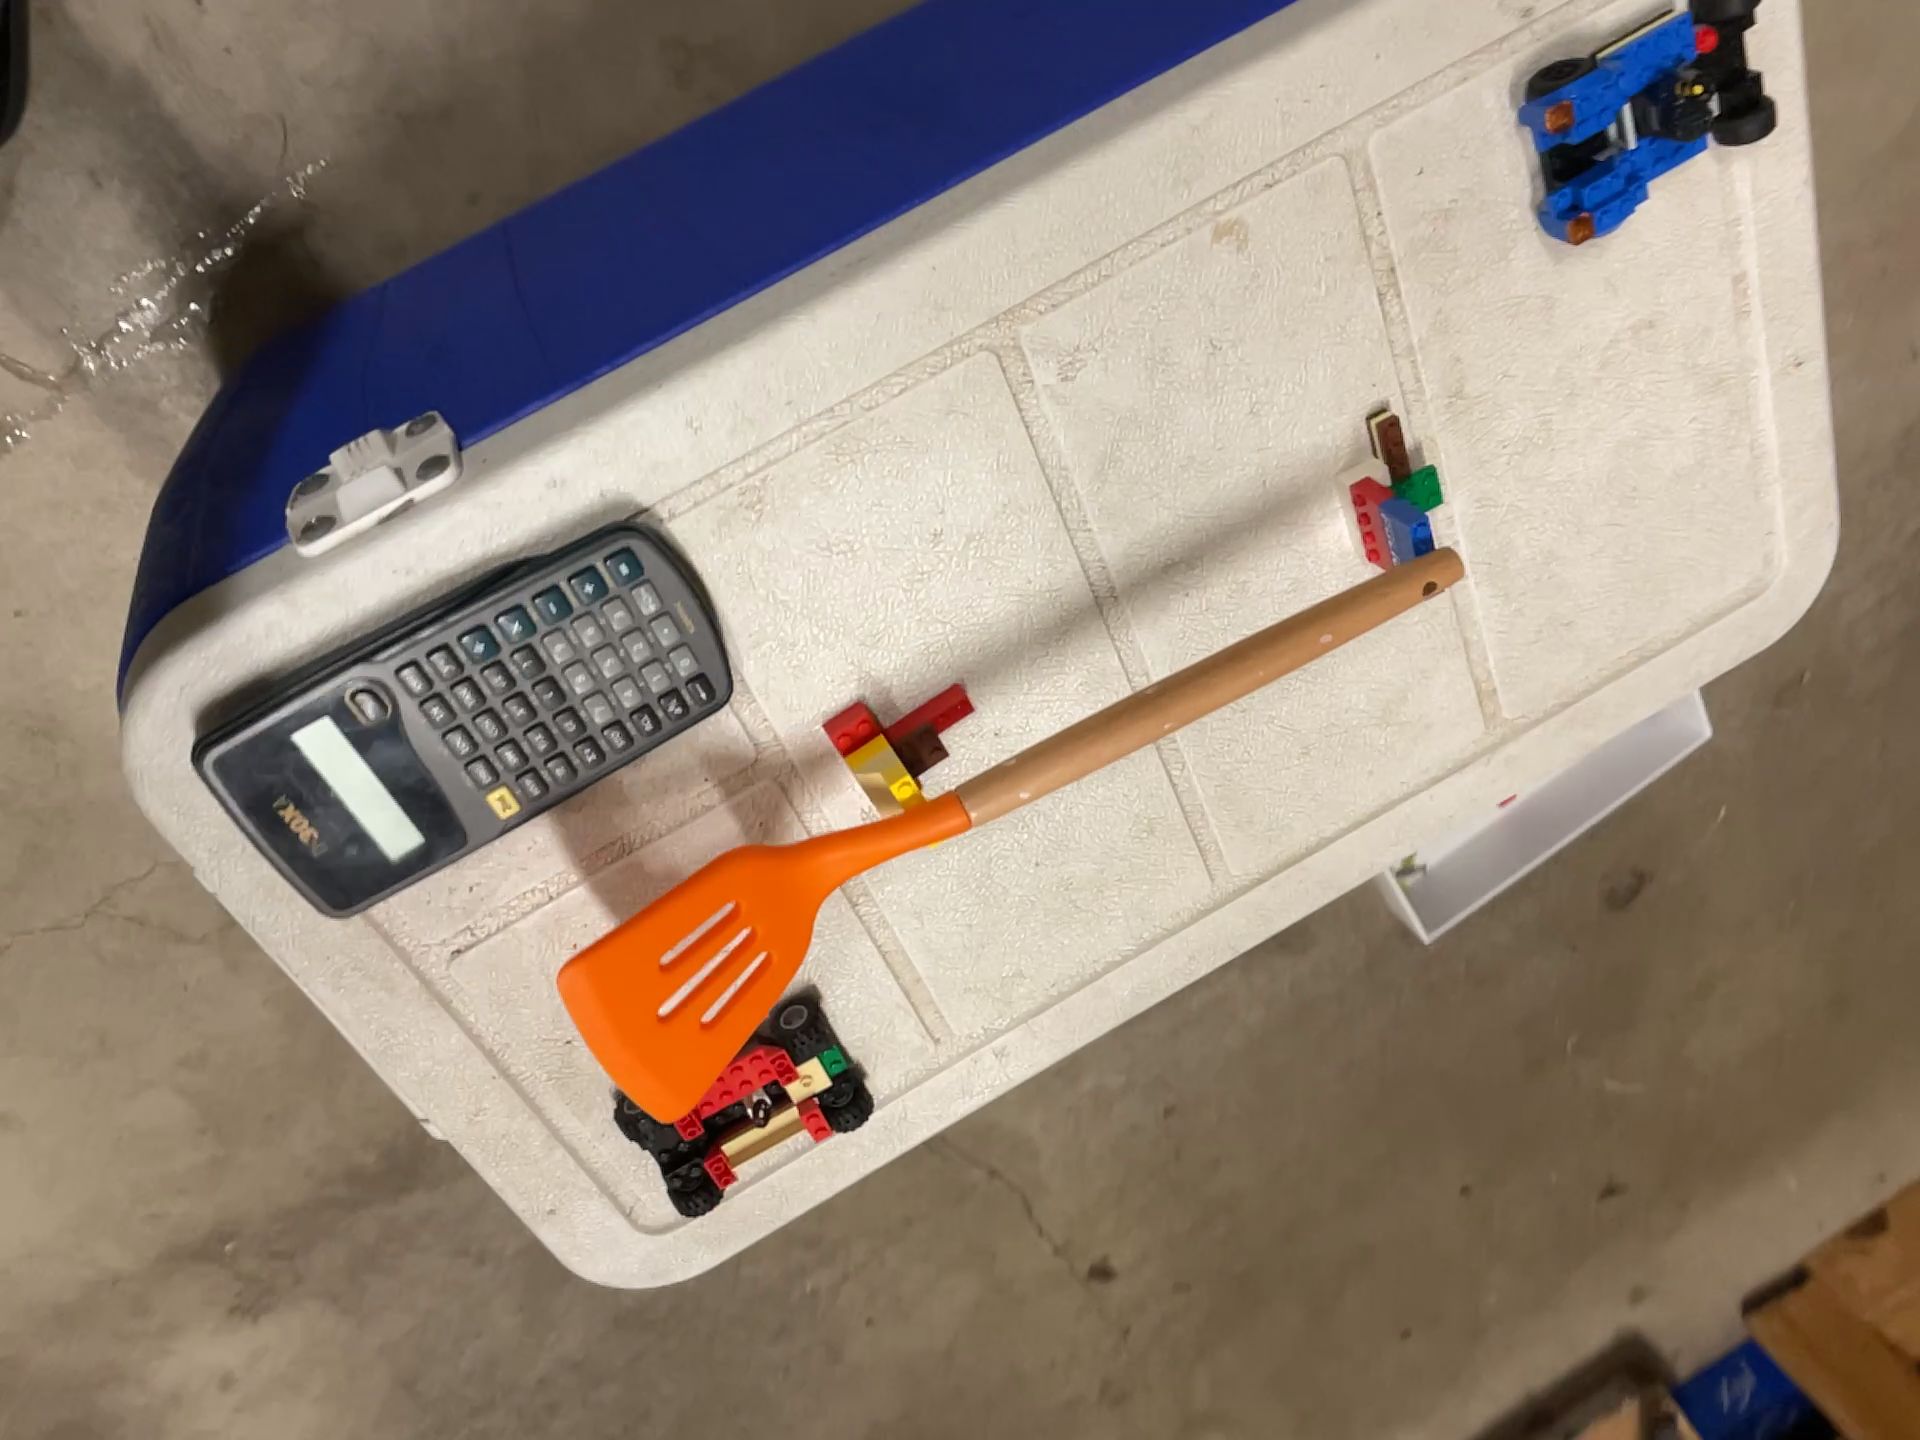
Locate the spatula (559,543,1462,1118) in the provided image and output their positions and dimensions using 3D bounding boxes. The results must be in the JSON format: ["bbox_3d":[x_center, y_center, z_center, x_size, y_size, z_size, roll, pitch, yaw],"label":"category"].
[{"bbox_3d":[0.027,0.022,0.521,0.322,0.041,0.080,-27,128,-4],"label":"spatula"}]
